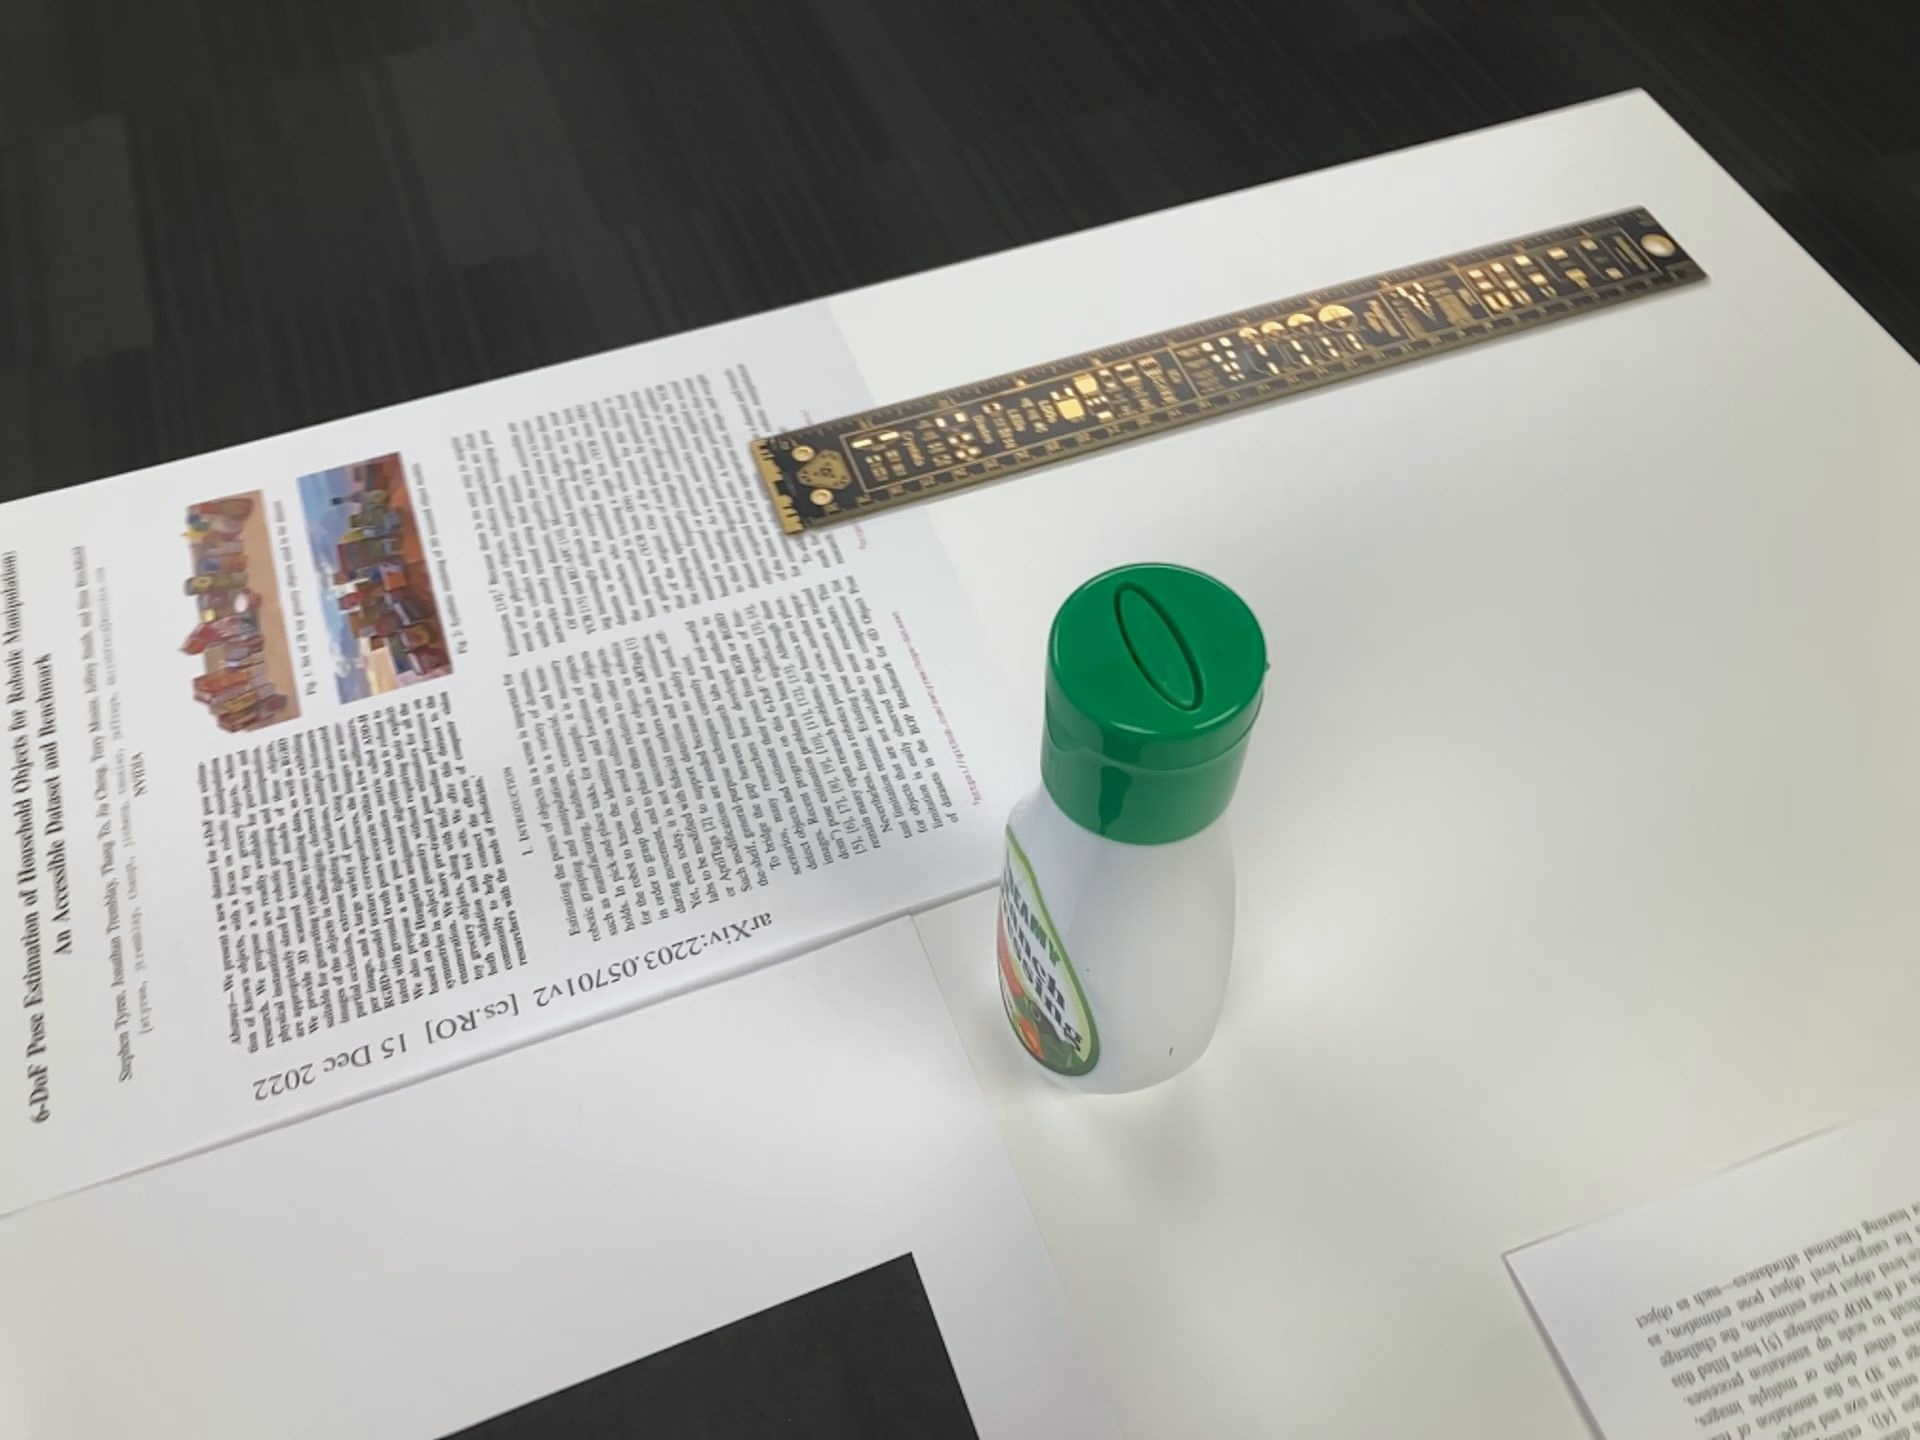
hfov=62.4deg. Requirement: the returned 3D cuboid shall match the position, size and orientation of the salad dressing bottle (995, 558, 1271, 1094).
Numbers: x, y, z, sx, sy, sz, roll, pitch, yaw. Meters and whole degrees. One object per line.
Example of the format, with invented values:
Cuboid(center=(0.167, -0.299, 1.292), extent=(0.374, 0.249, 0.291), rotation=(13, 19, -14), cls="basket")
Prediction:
Cuboid(center=(0.032, 0.027, 0.321), extent=(0.044, 0.147, 0.064), rotation=(-17, 58, -12), cls="salad dressing bottle")
